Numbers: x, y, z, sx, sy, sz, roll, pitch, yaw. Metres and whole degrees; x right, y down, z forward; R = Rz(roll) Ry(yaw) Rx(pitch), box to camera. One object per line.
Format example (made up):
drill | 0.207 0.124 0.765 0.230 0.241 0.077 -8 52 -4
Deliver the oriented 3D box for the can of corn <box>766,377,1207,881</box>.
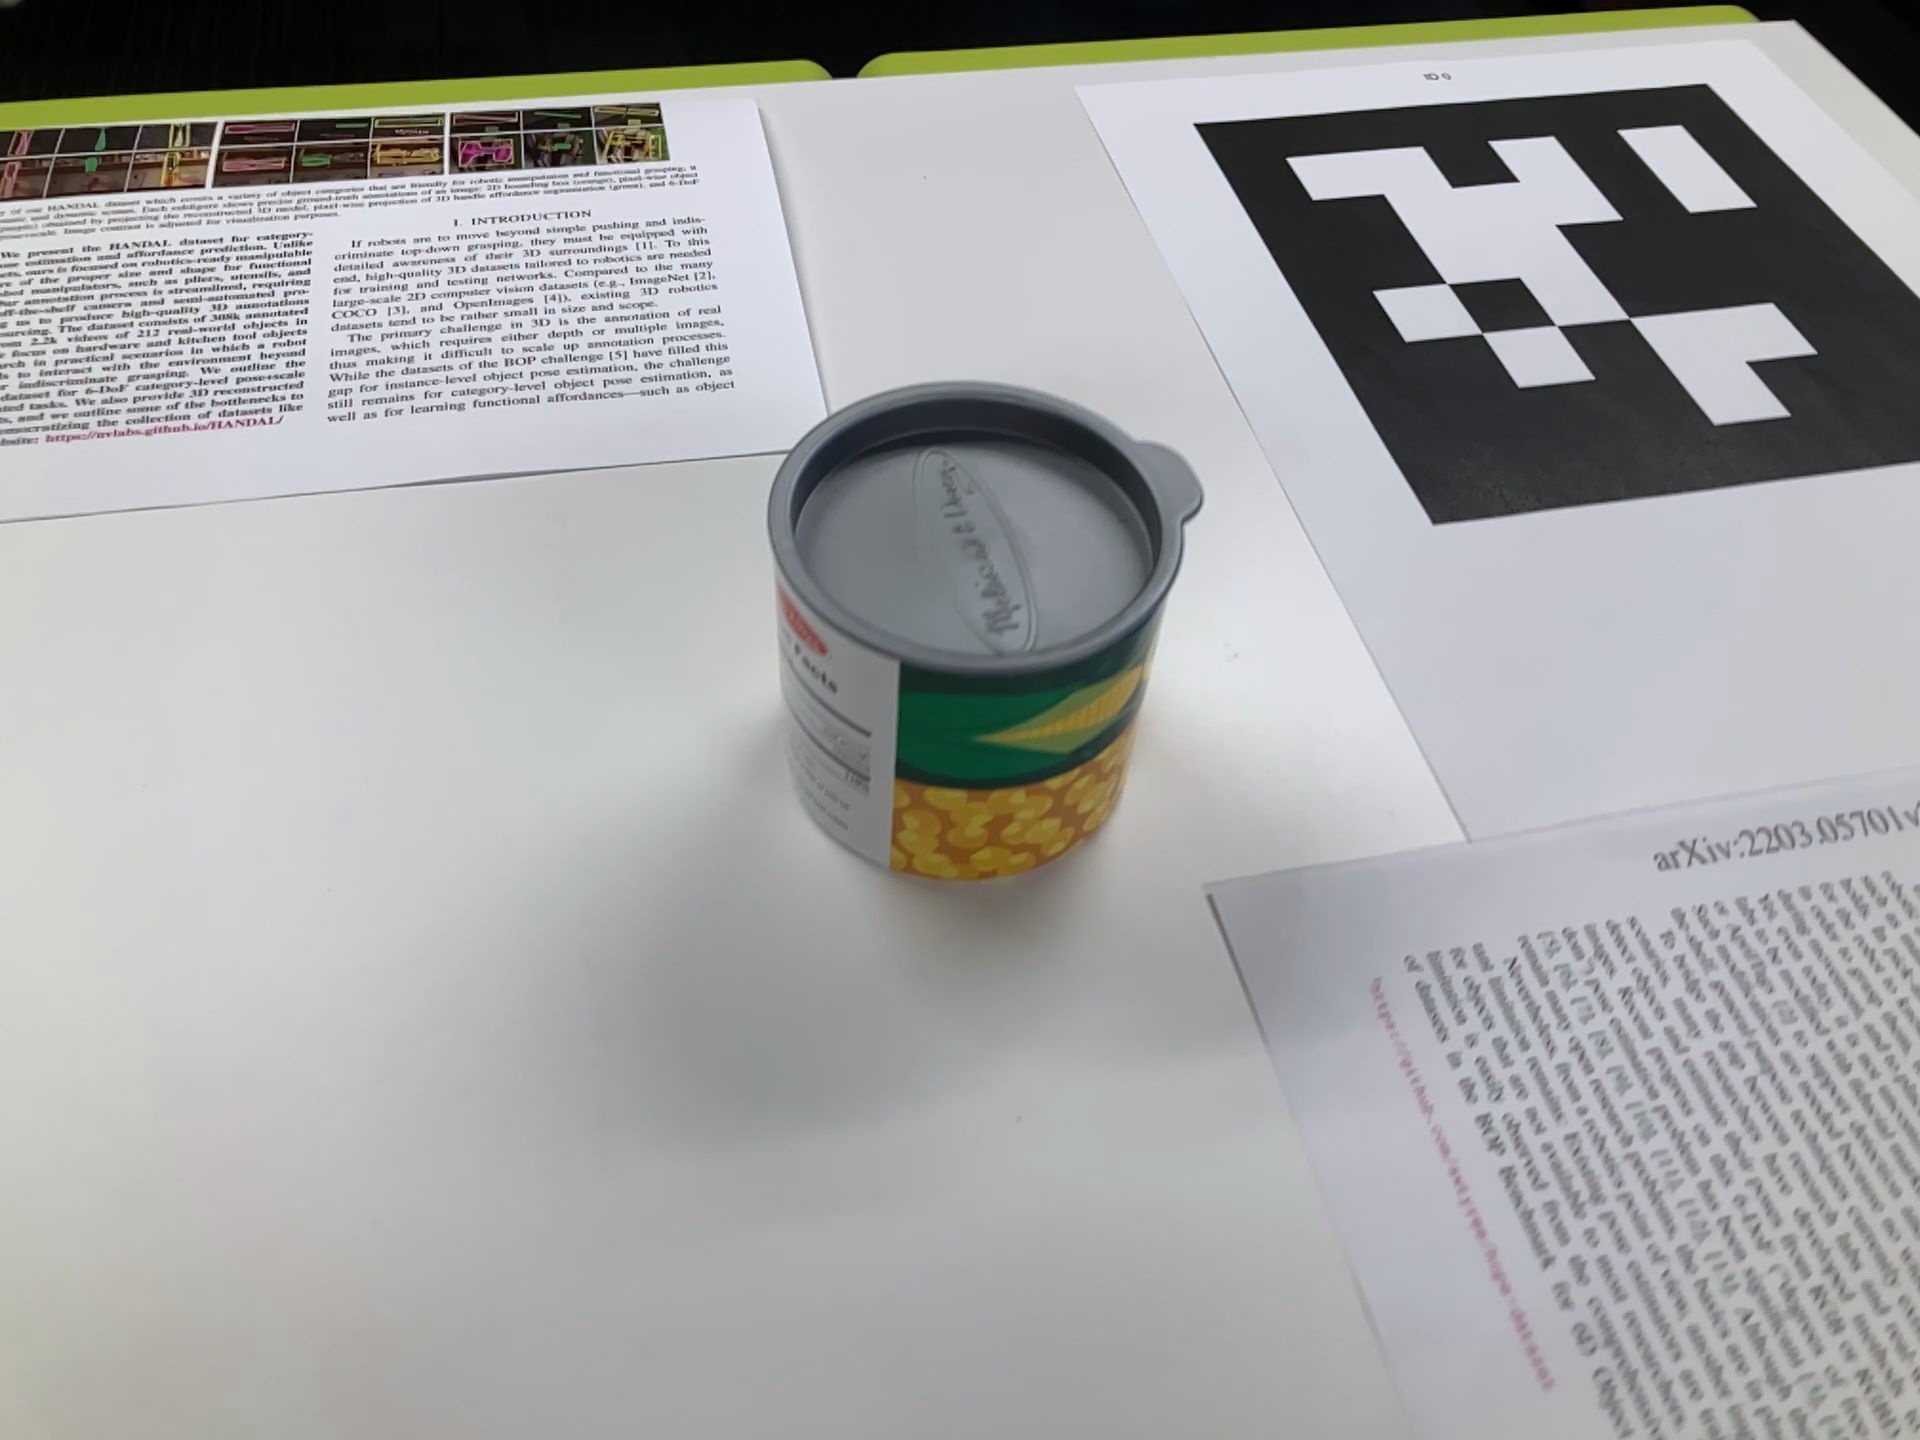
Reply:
can of corn | 0.003 -0.016 0.273 0.071 0.058 0.071 2 50 -3
